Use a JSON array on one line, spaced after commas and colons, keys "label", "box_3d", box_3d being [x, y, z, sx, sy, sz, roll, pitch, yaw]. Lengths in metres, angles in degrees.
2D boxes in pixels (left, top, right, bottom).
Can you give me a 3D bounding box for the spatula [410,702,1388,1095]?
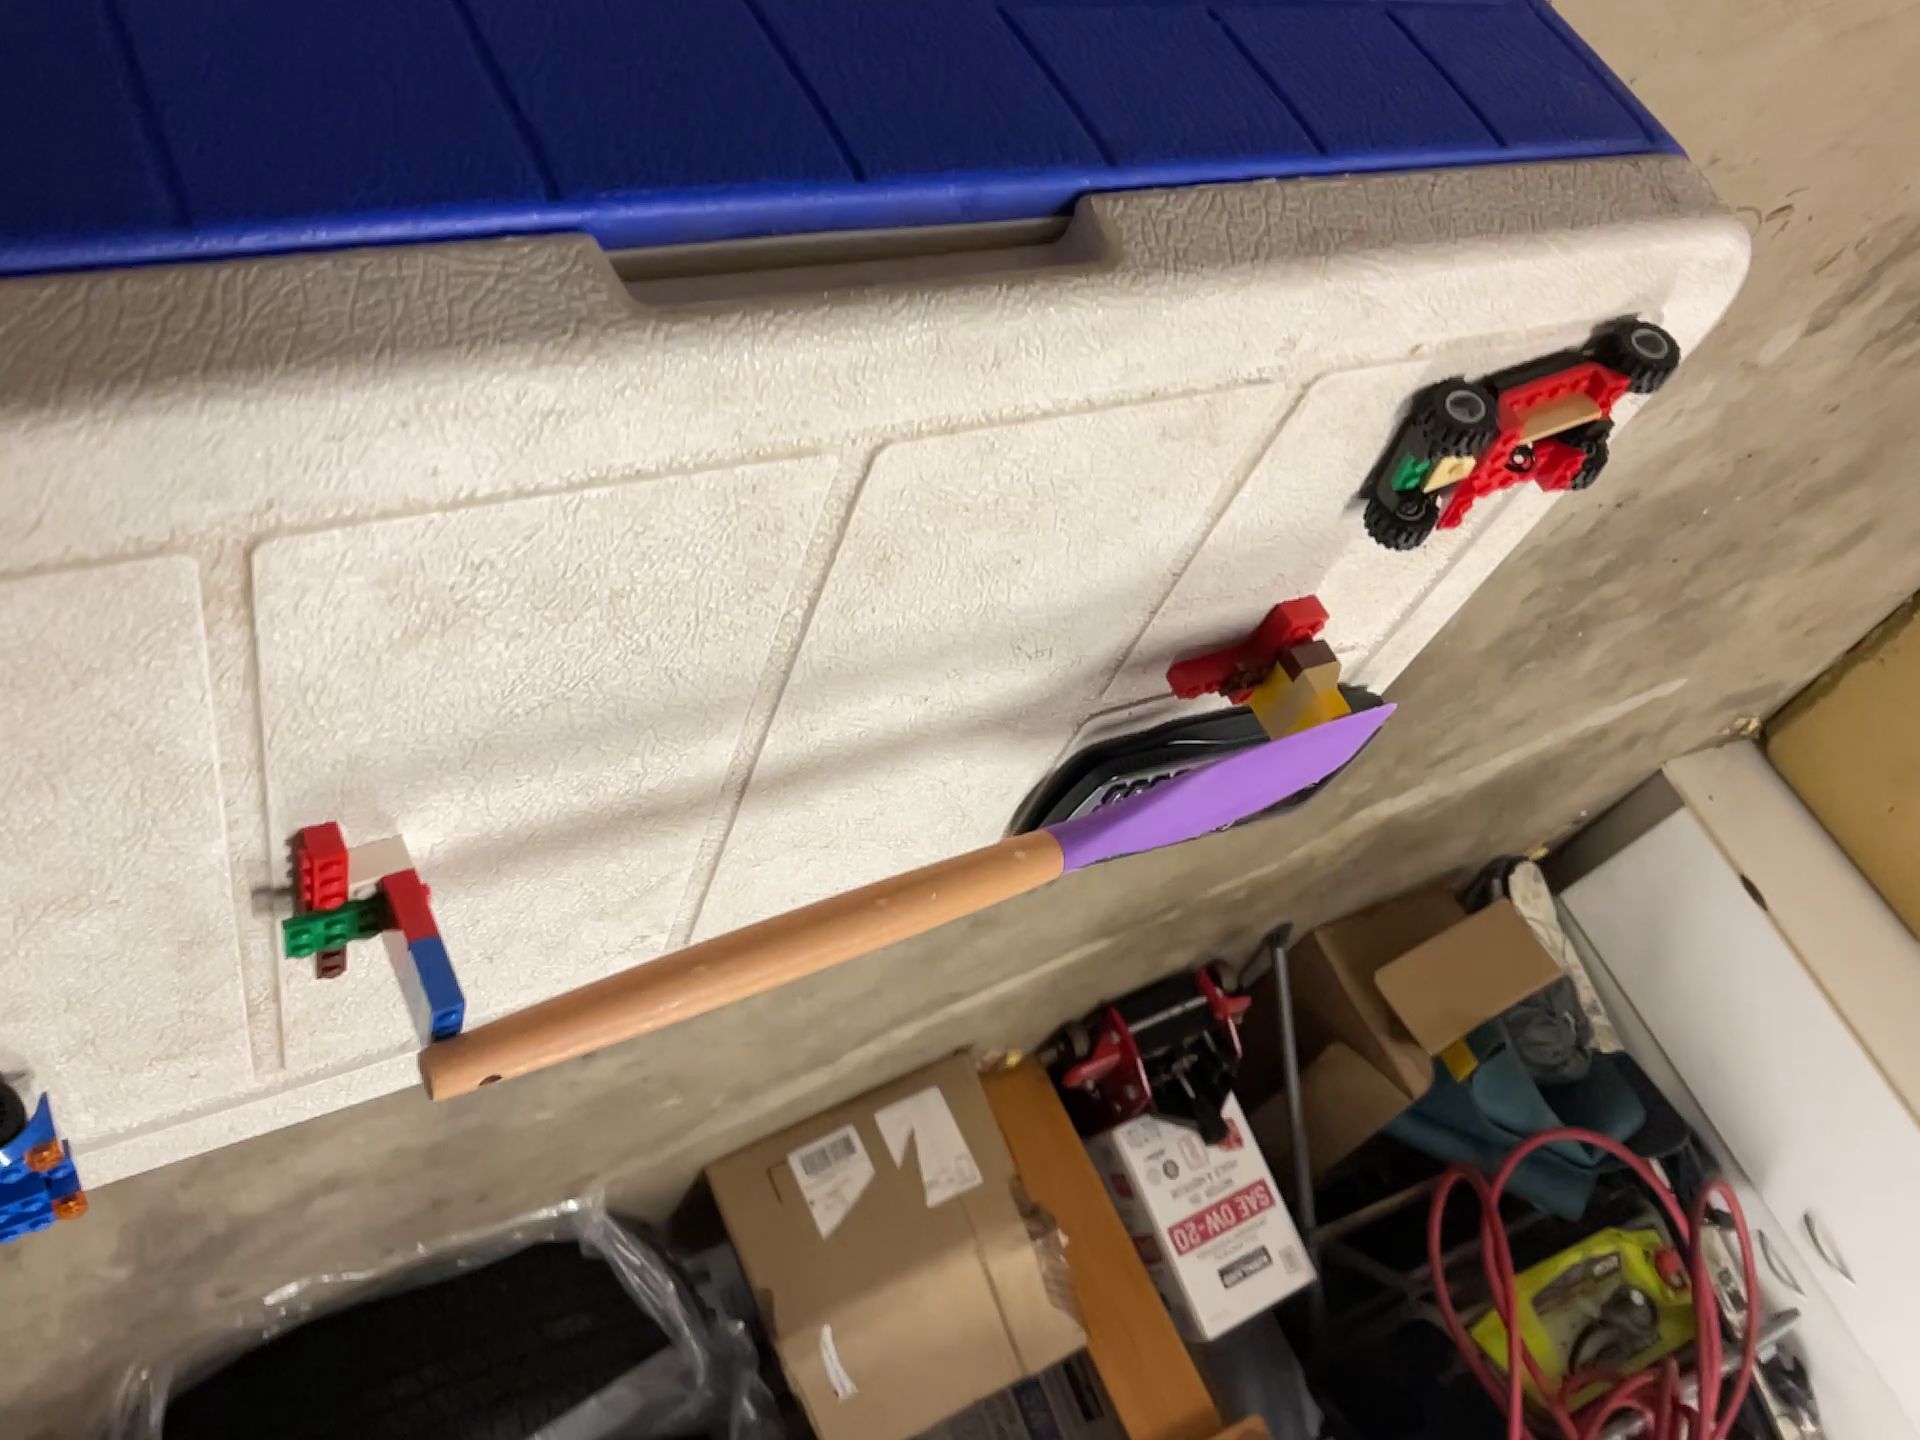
[{"label": "spatula", "box_3d": [0.002, 0.047, 0.461, 0.316, 0.018, 0.059, -16, 153, -30]}]
